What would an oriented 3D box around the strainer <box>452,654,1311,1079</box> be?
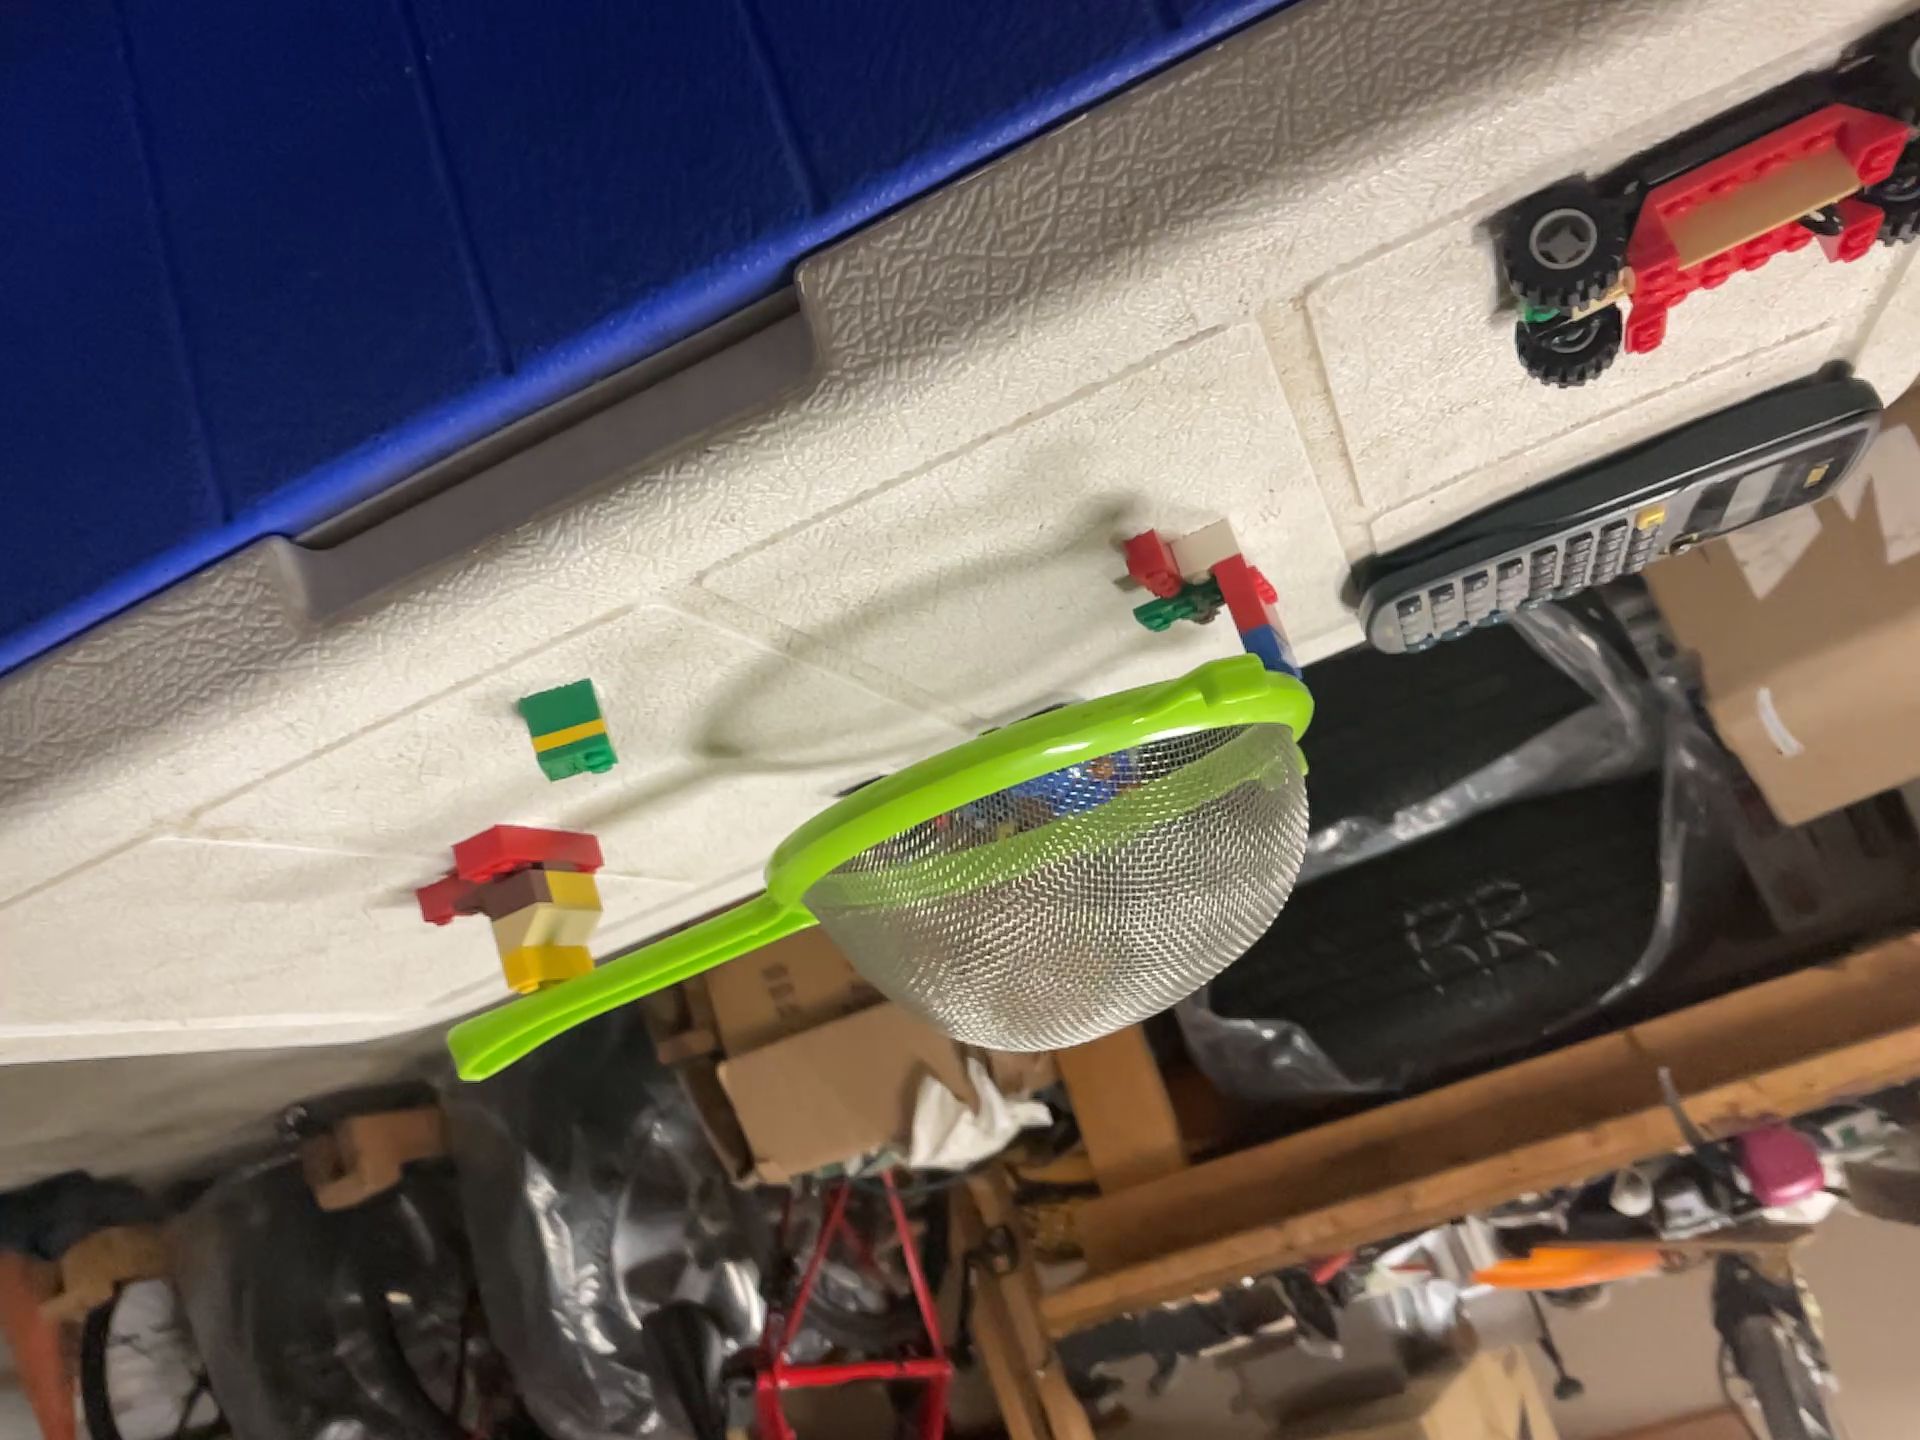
[{"bbox_3d":[-0.018,0.066,0.425,0.256,0.069,0.151,-24,167,11],"label":"strainer"}]
